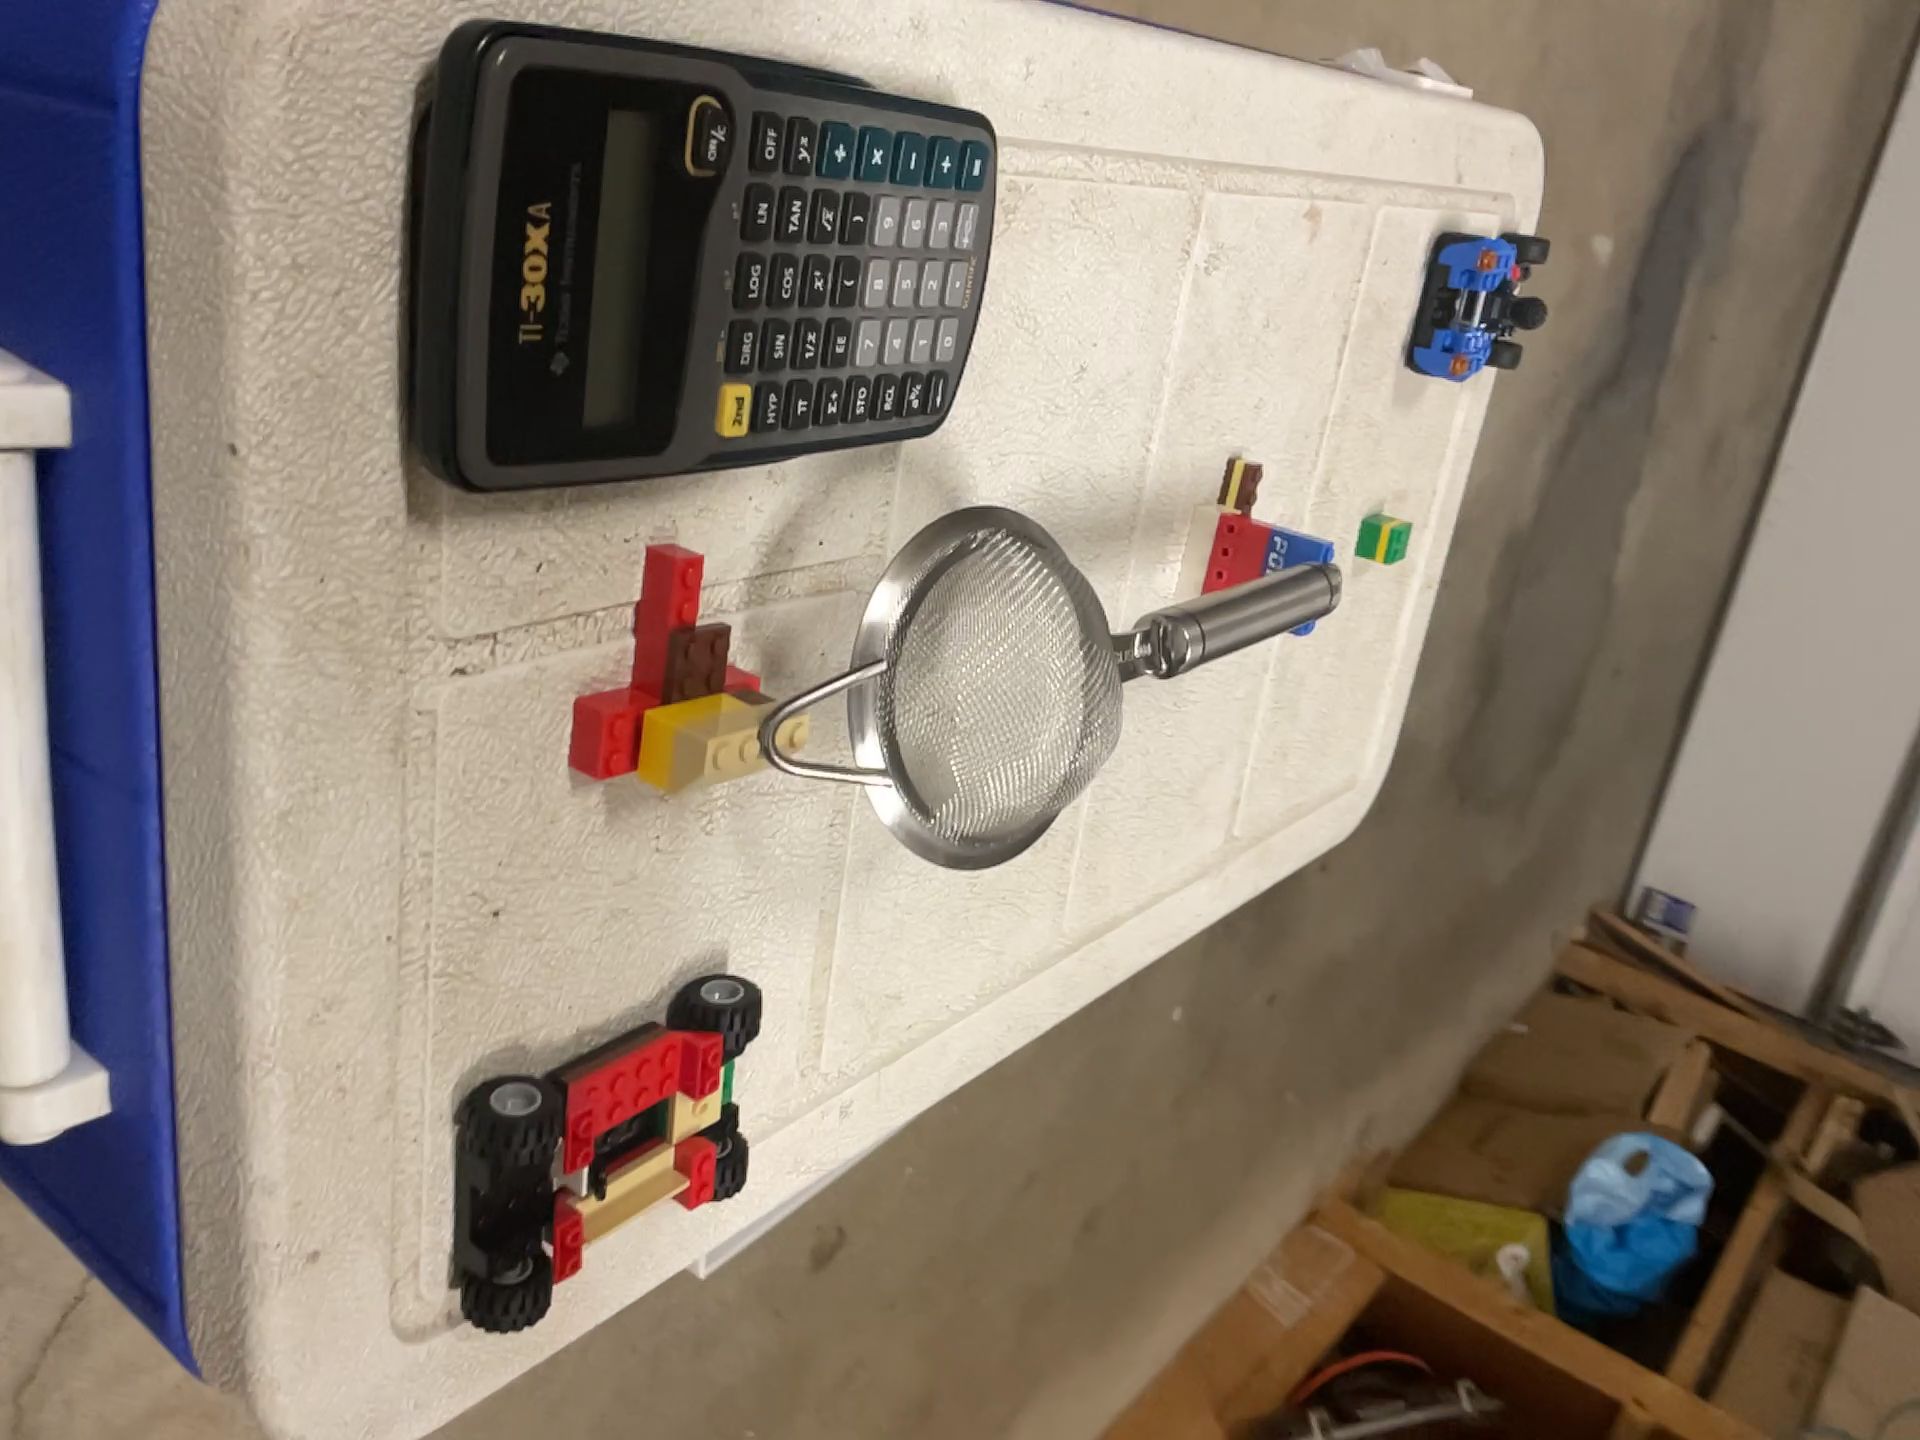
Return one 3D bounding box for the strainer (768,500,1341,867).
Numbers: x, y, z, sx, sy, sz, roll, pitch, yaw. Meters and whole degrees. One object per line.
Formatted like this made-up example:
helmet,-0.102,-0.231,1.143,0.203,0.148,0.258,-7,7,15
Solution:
strainer,0.053,-0.022,0.426,0.258,0.050,0.087,-20,109,-53
